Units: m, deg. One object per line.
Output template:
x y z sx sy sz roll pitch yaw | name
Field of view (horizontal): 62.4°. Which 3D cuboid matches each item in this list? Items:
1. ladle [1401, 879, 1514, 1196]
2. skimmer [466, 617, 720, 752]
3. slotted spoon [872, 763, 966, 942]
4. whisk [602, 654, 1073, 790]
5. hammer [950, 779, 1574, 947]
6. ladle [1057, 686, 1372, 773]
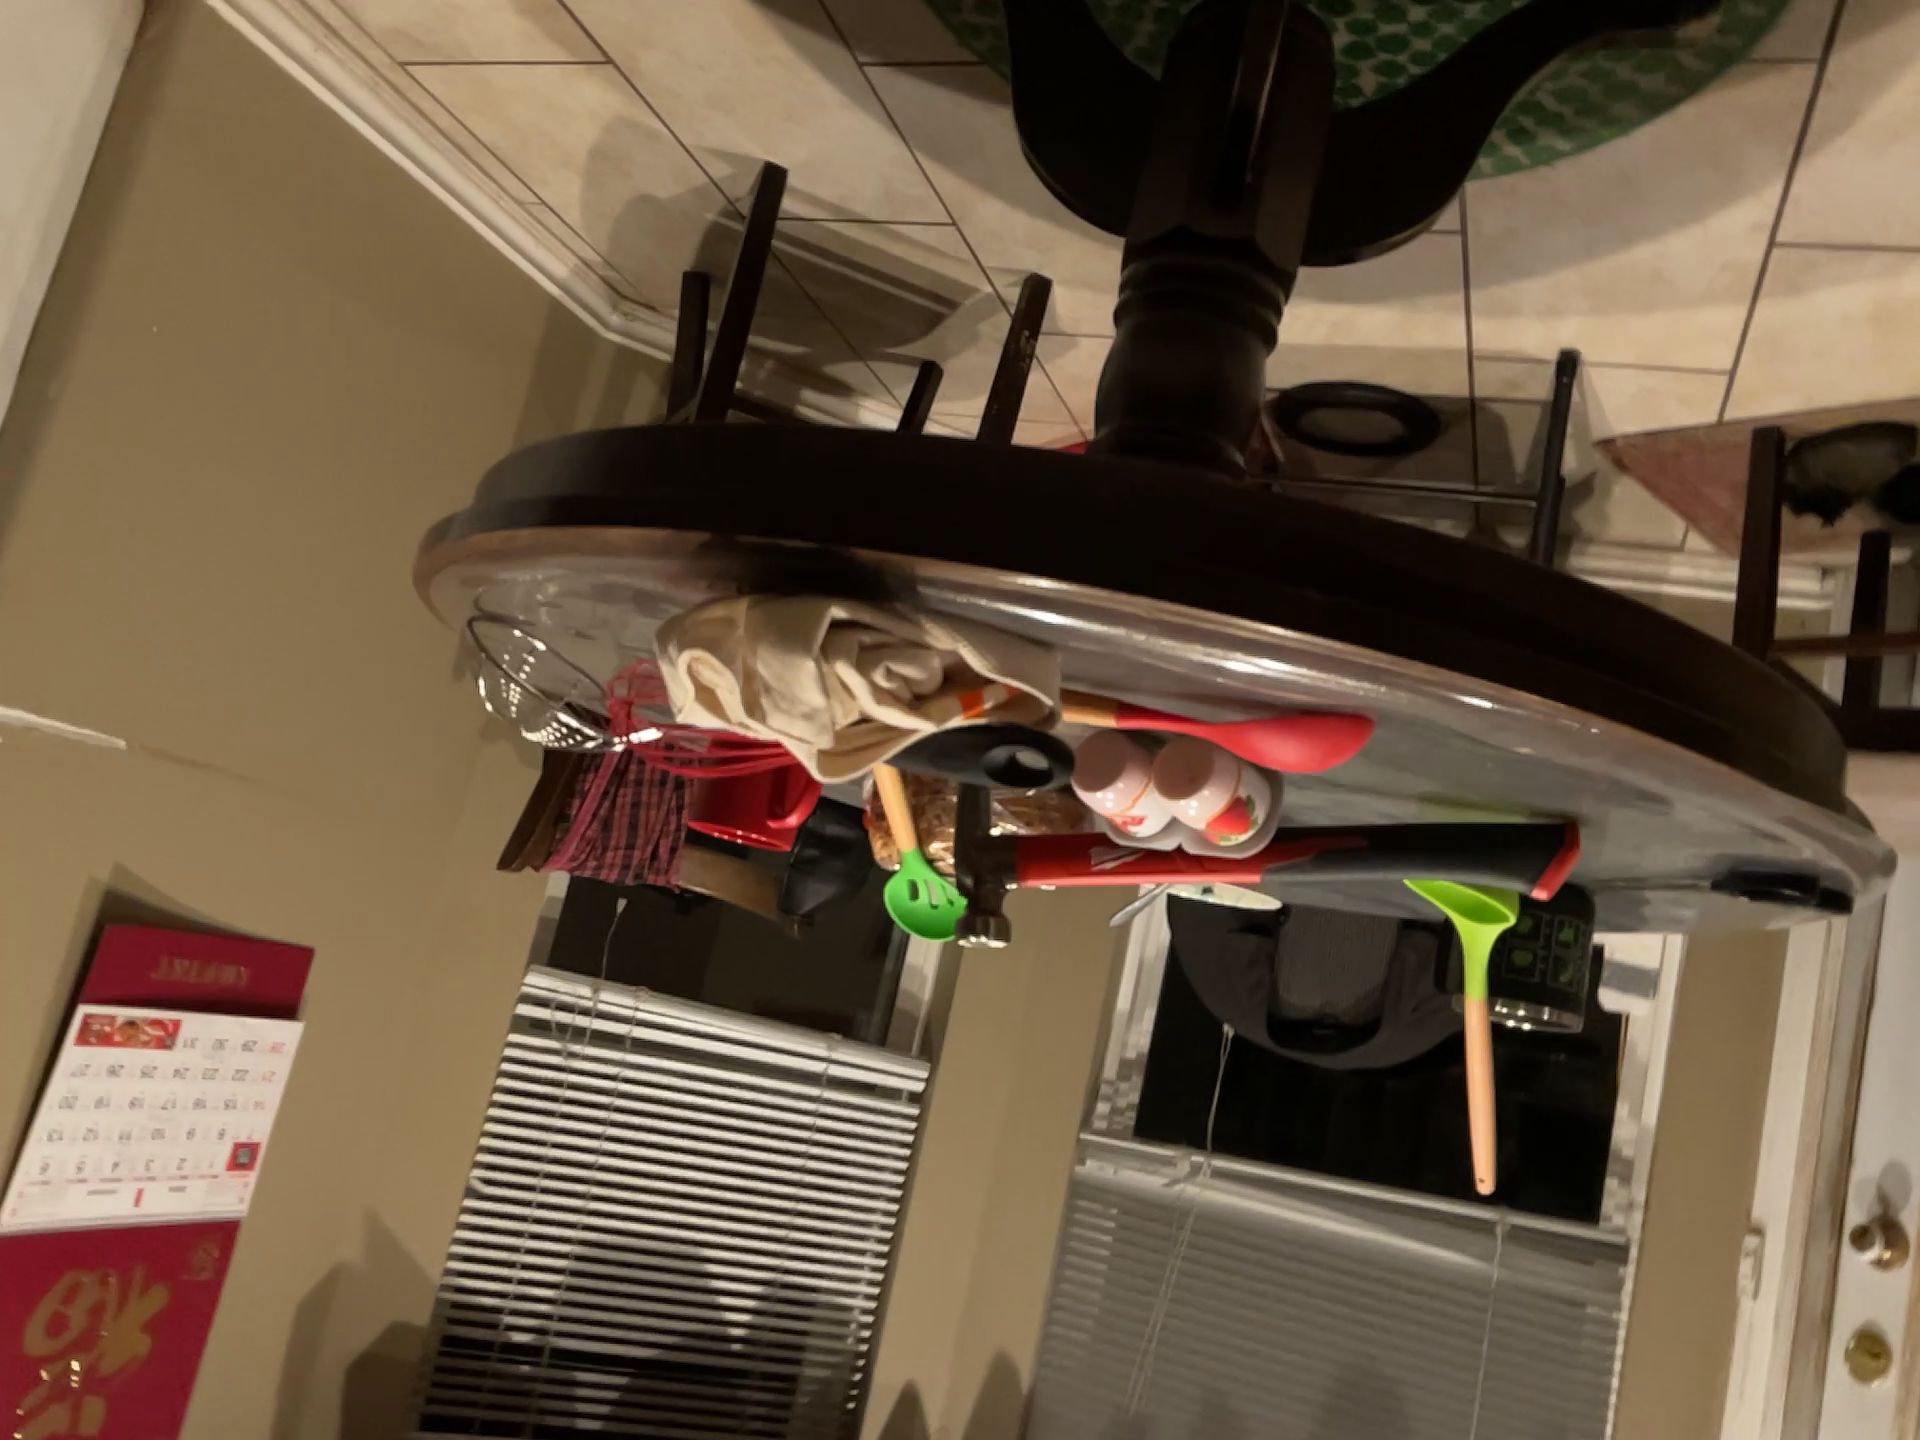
0.357 0.222 1.121 0.062 0.320 0.078 -31 -147 -34 | ladle
-0.142 -0.026 1.008 0.363 0.090 0.127 -1 174 16 | skimmer
-0.041 0.076 1.153 0.070 0.031 0.313 6 146 12 | slotted spoon
-0.075 0.007 0.834 0.296 0.073 0.073 7 167 29 | whisk
0.179 0.068 0.997 0.386 0.143 0.038 -4 165 21 | hammer
0.062 -0.009 0.858 0.316 0.031 0.069 11 169 24 | ladle
